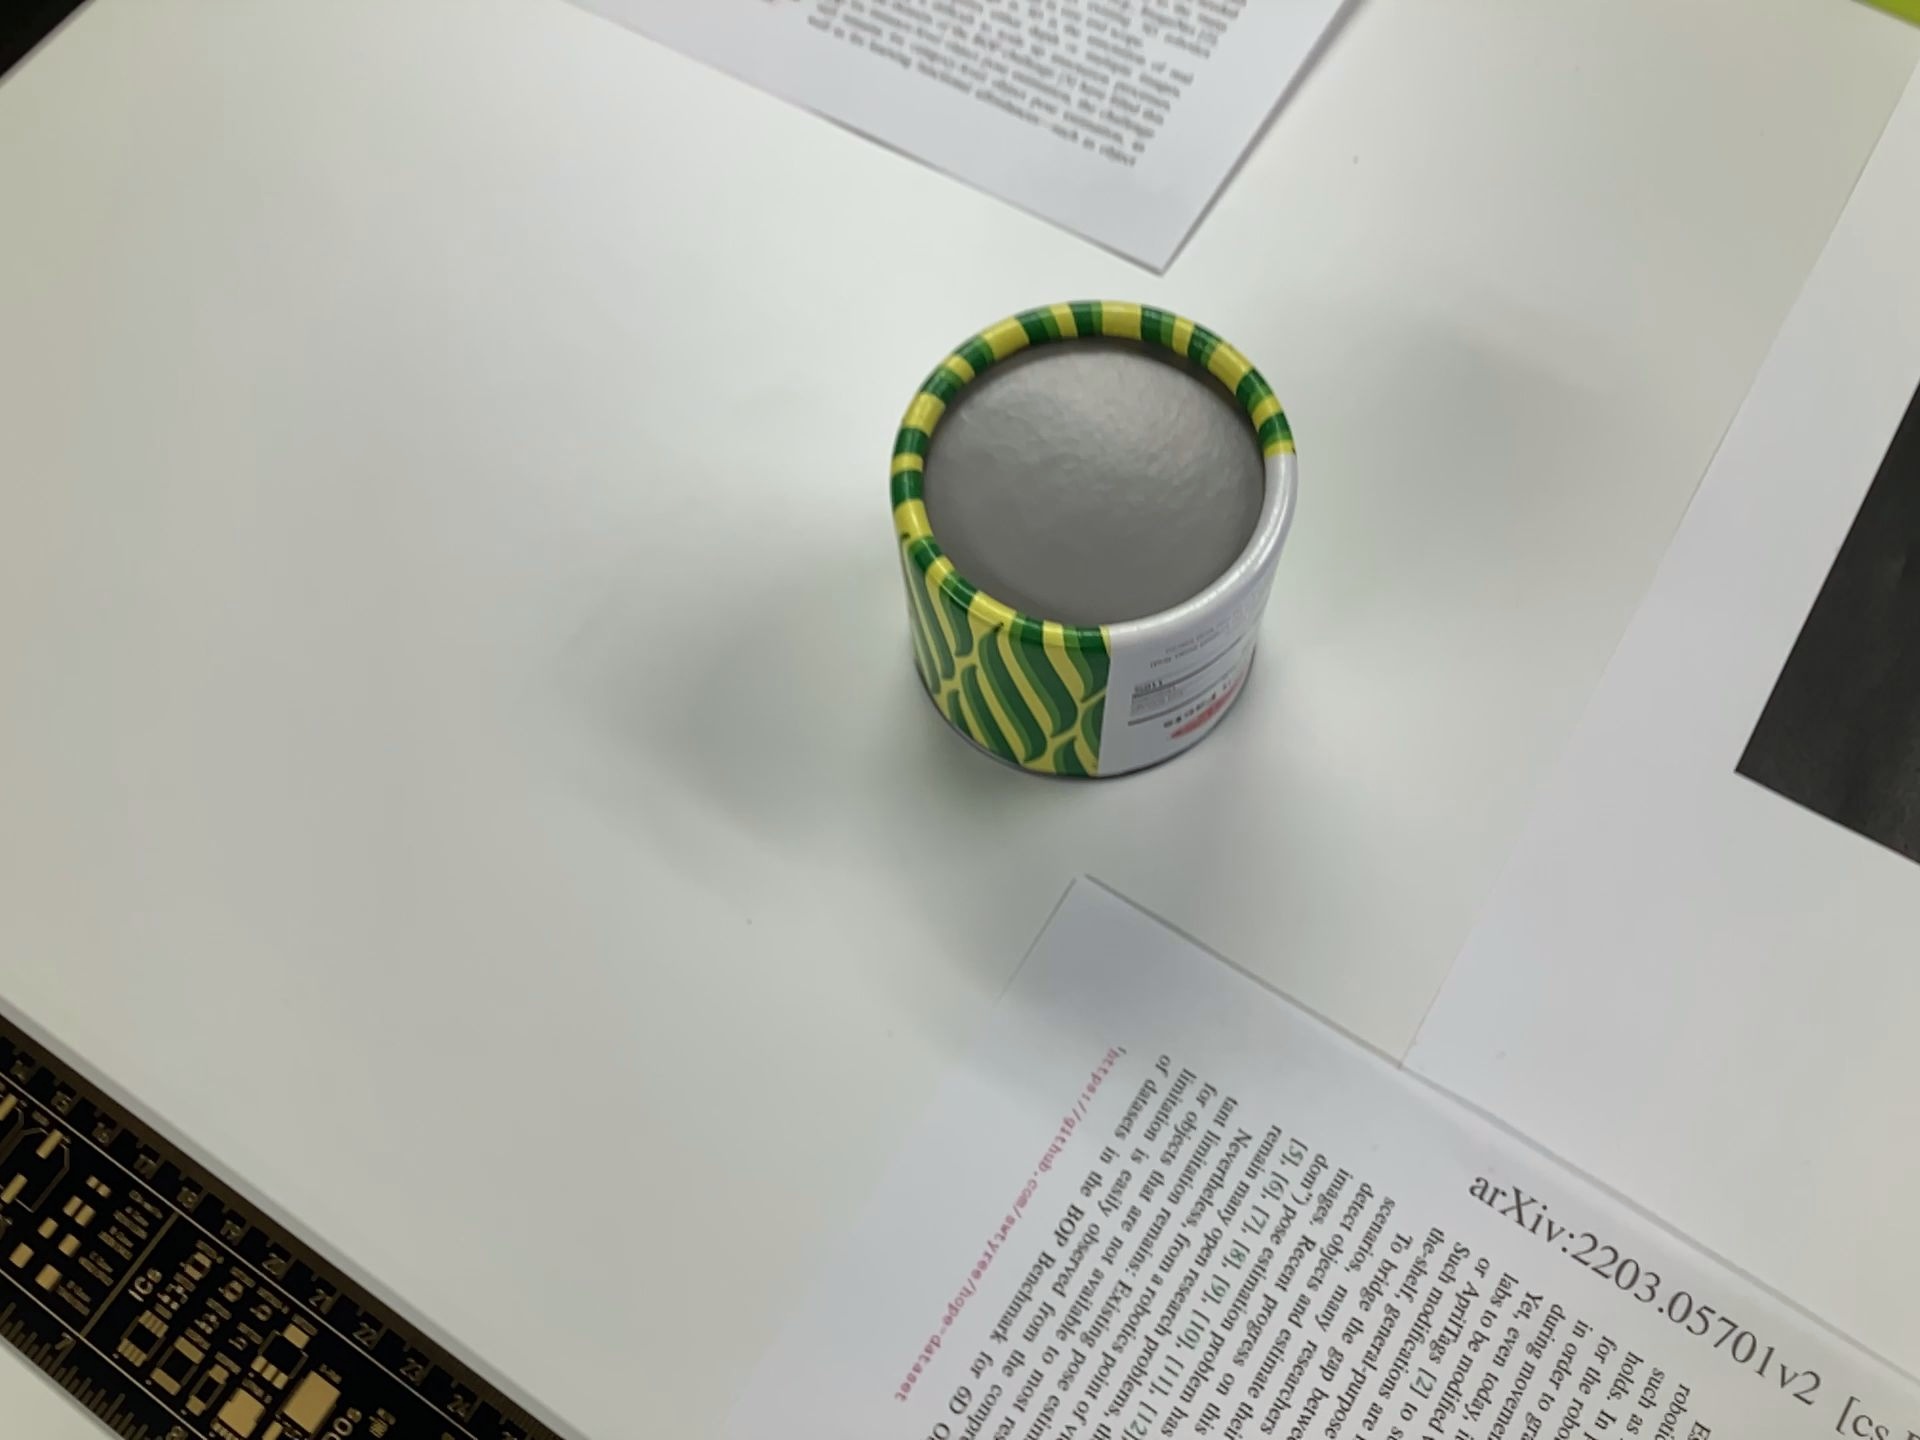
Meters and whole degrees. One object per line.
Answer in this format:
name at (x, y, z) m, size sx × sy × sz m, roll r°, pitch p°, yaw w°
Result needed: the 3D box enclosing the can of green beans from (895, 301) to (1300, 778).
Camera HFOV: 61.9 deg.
can of green beans at (0.023, -0.031, 0.284) m, size 0.071 × 0.058 × 0.071 m, roll -1°, pitch 67°, yaw 2°
